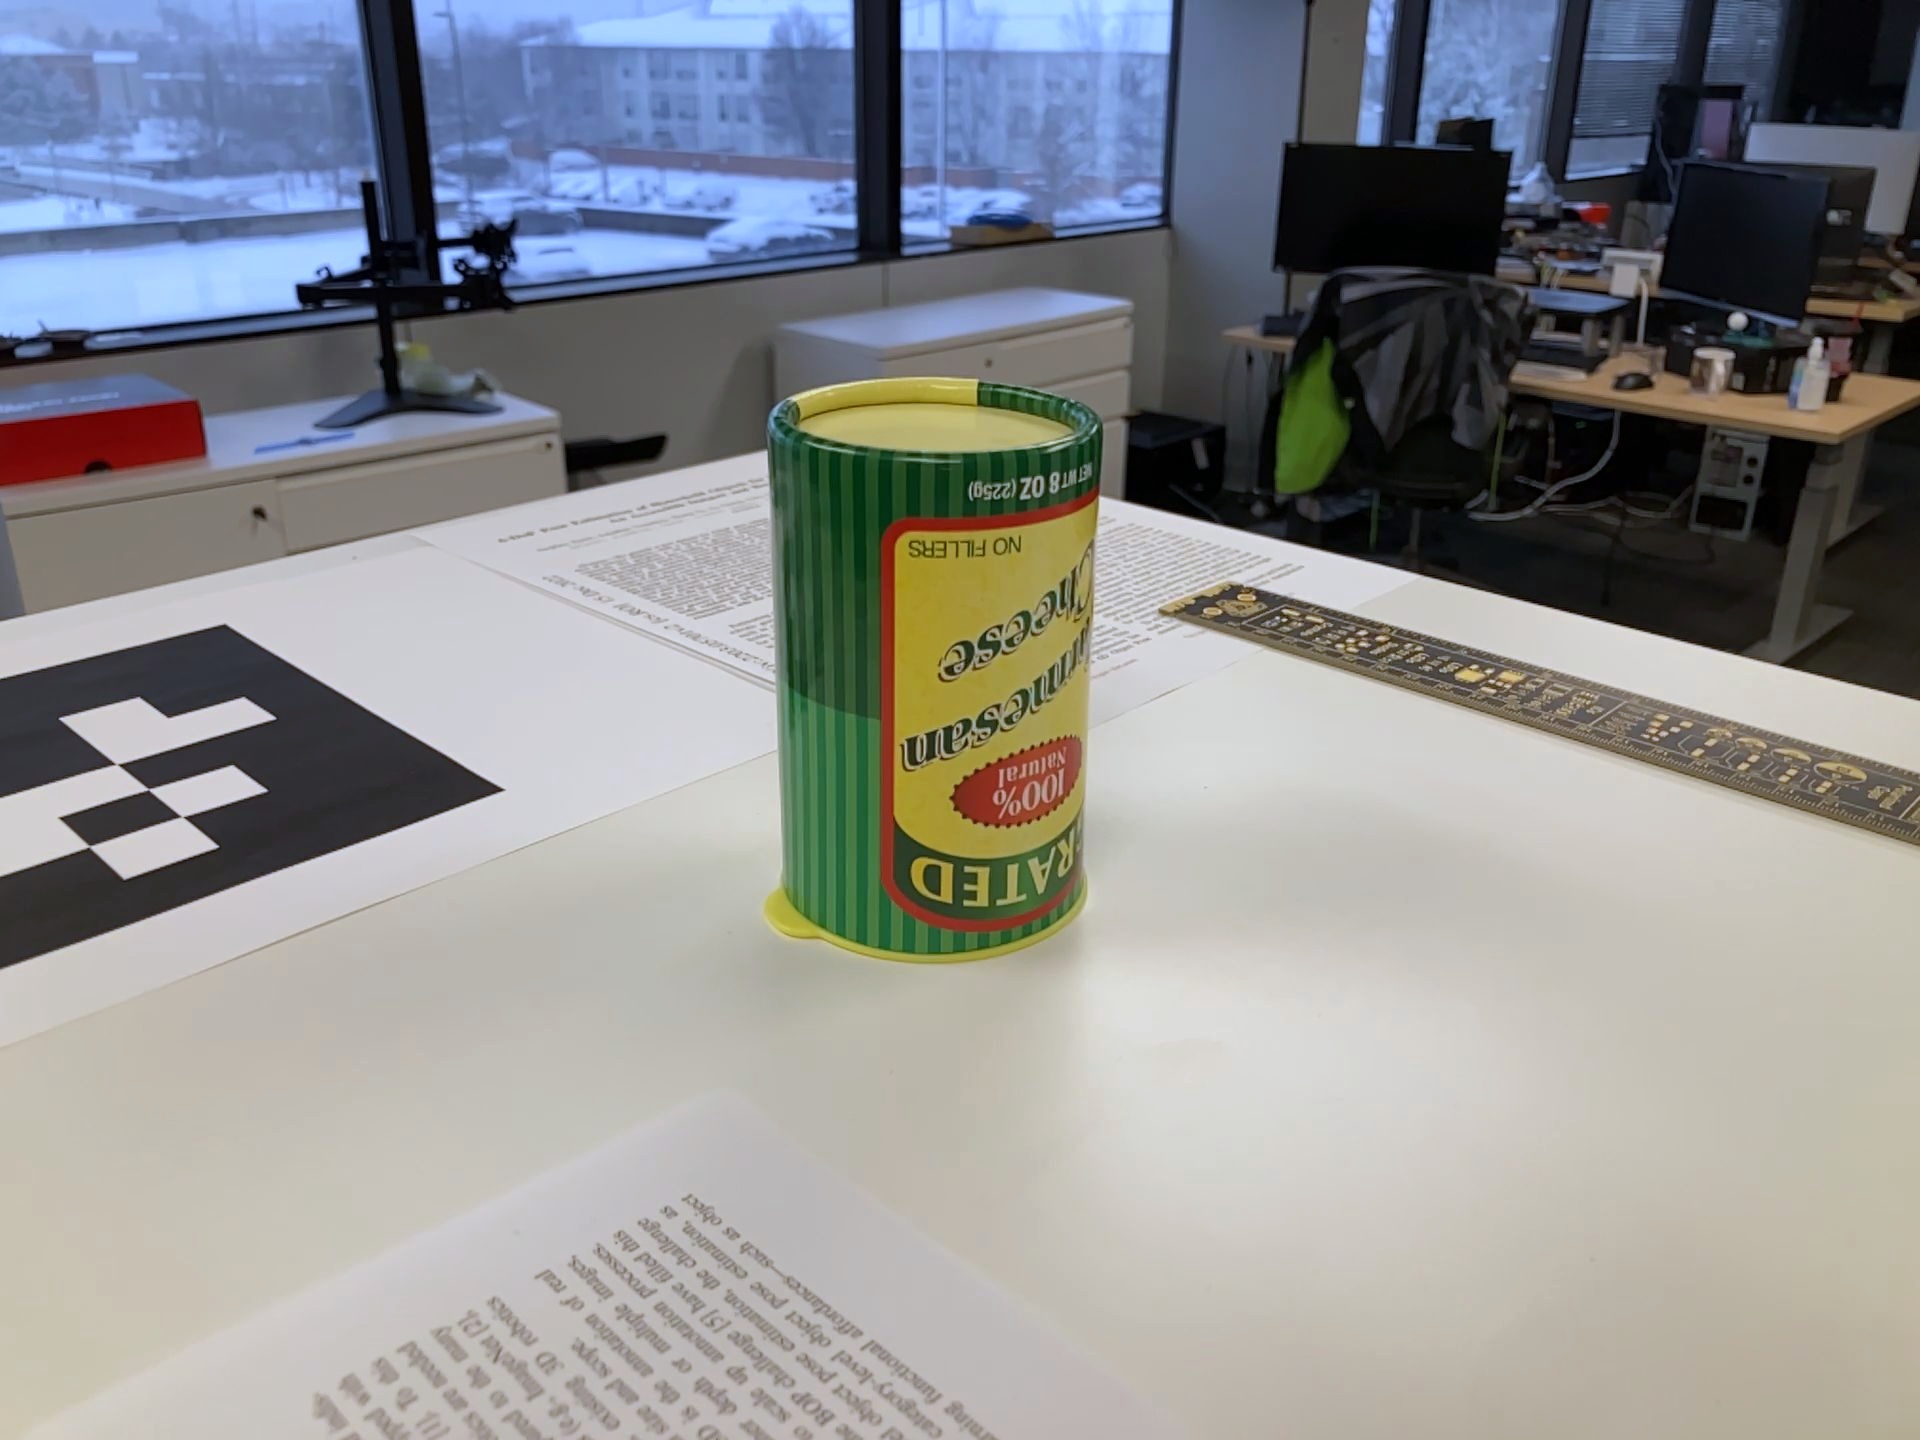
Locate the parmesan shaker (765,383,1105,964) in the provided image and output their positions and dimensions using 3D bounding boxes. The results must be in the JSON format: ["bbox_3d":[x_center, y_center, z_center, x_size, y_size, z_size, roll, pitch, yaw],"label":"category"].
[{"bbox_3d":[-0.007,-0.011,0.323,0.071,0.103,0.071,0,23,0],"label":"parmesan shaker"}]
